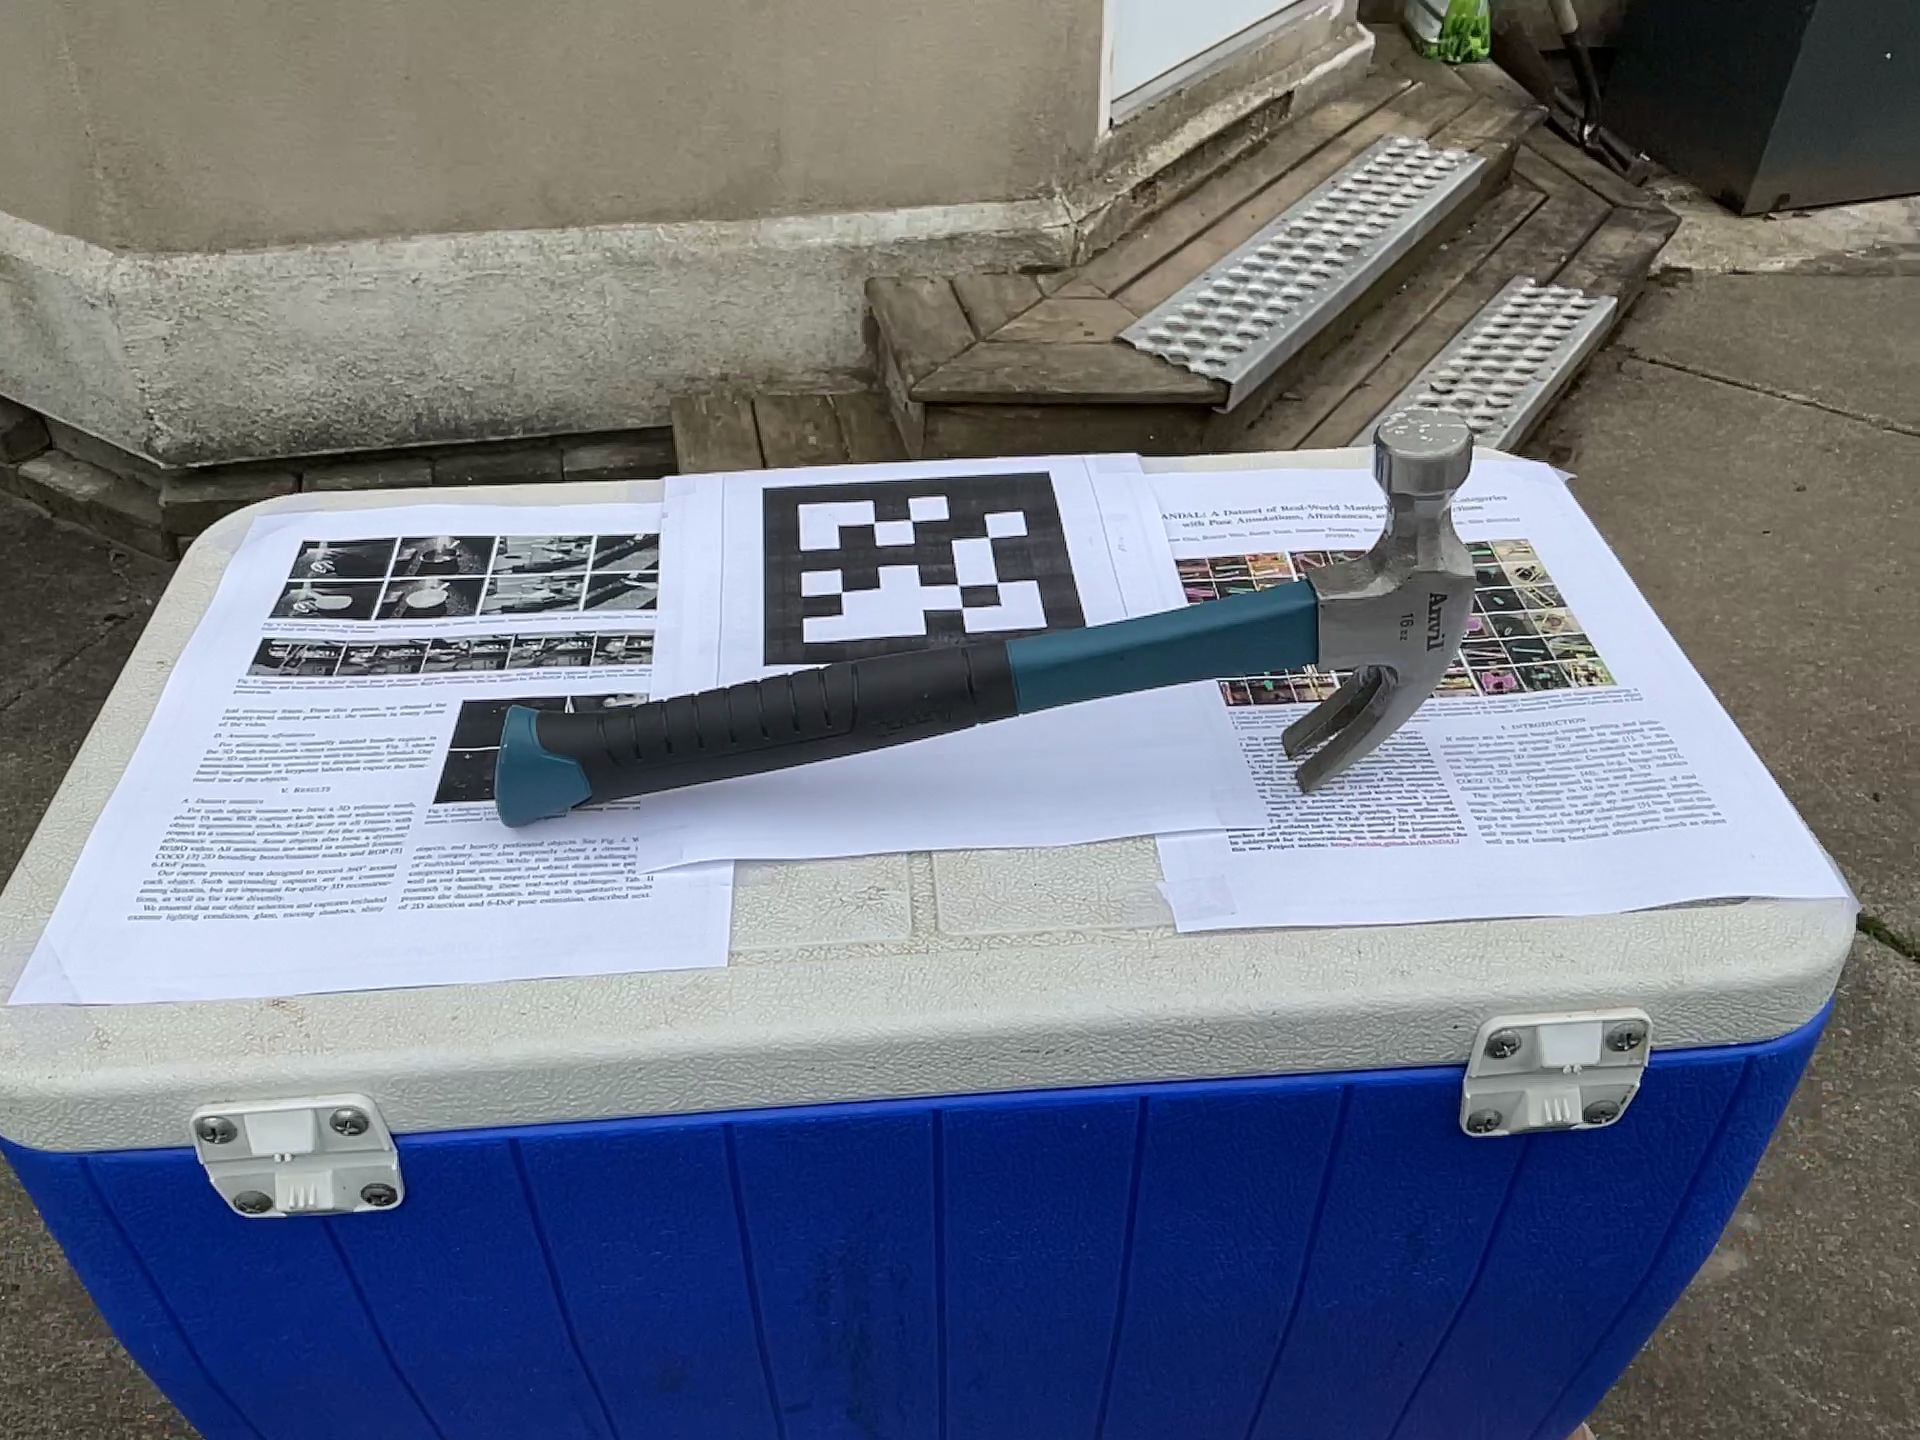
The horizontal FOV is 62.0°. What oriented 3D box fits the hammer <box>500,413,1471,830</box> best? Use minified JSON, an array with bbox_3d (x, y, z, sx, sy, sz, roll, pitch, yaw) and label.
[{"bbox_3d":[0.004,-0.012,0.538,0.331,0.128,0.033,-11,38,2],"label":"hammer"}]
